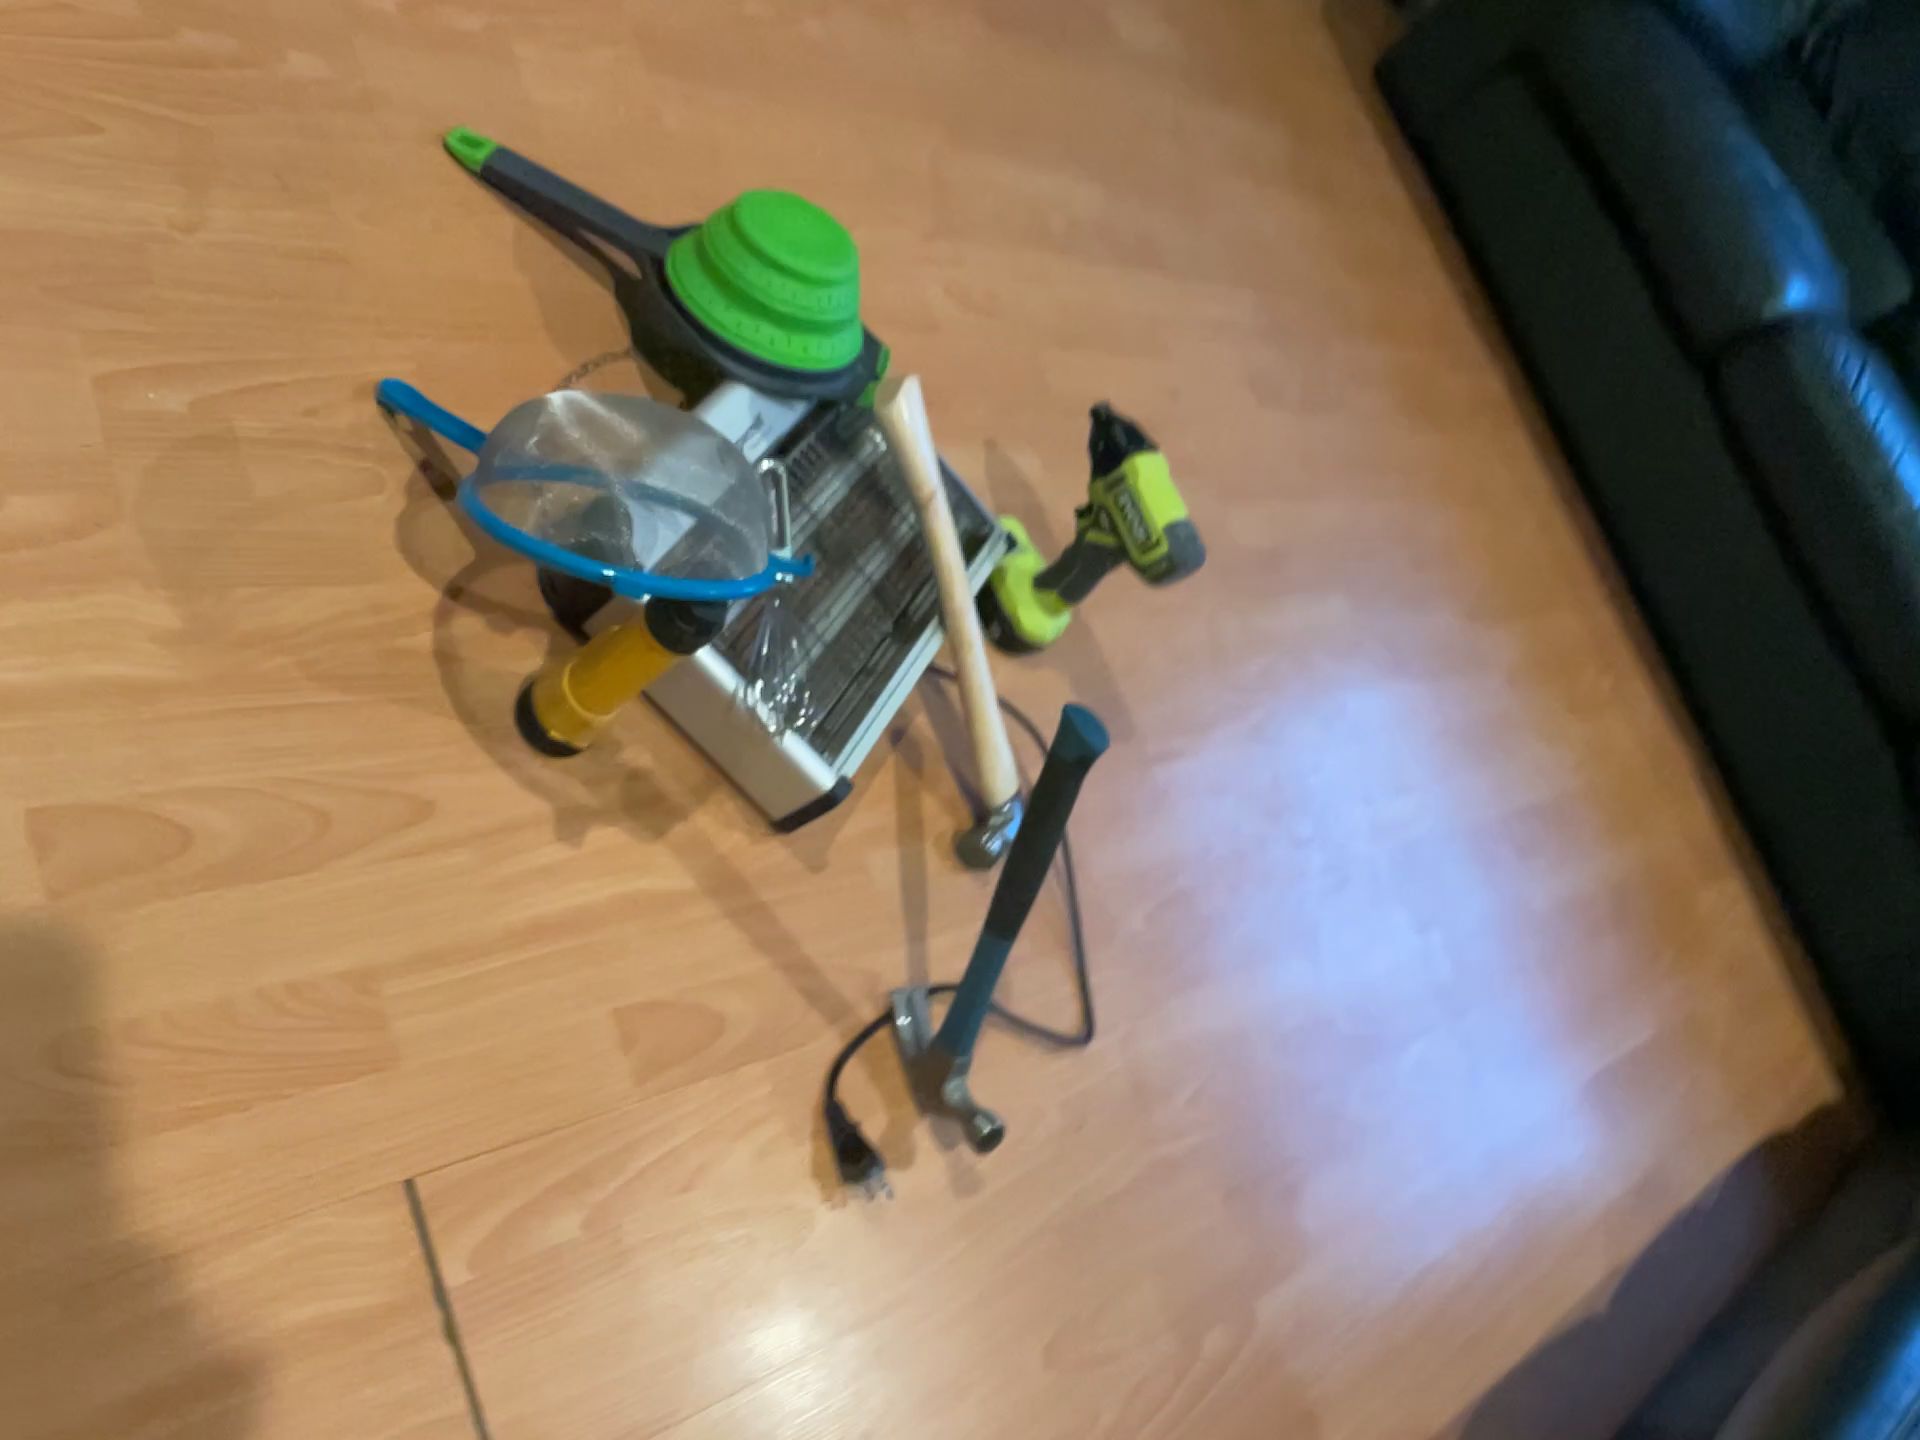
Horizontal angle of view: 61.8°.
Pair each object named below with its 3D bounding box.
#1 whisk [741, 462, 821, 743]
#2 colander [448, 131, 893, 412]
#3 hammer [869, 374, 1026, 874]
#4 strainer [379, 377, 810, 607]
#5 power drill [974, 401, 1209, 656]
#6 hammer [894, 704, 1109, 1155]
[{"bbox_3d":[-0.137,-0.093,1.191,0.058,0.059,0.246,0,59,-12],"label":"whisk"},{"bbox_3d":[-0.221,-0.400,1.309,0.397,0.094,0.205,27,41,-9],"label":"colander"},{"bbox_3d":[0.004,-0.085,1.338,0.146,0.038,0.410,-36,117,-48],"label":"hammer"},{"bbox_3d":[-0.263,-0.190,1.075,0.340,0.095,0.211,31,23,22],"label":"strainer"},{"bbox_3d":[0.104,-0.168,1.461,0.080,0.223,0.171,-14,77,-48],"label":"power drill"},{"bbox_3d":[0.035,0.145,1.163,0.033,0.330,0.128,1,27,-44],"label":"hammer"}]
